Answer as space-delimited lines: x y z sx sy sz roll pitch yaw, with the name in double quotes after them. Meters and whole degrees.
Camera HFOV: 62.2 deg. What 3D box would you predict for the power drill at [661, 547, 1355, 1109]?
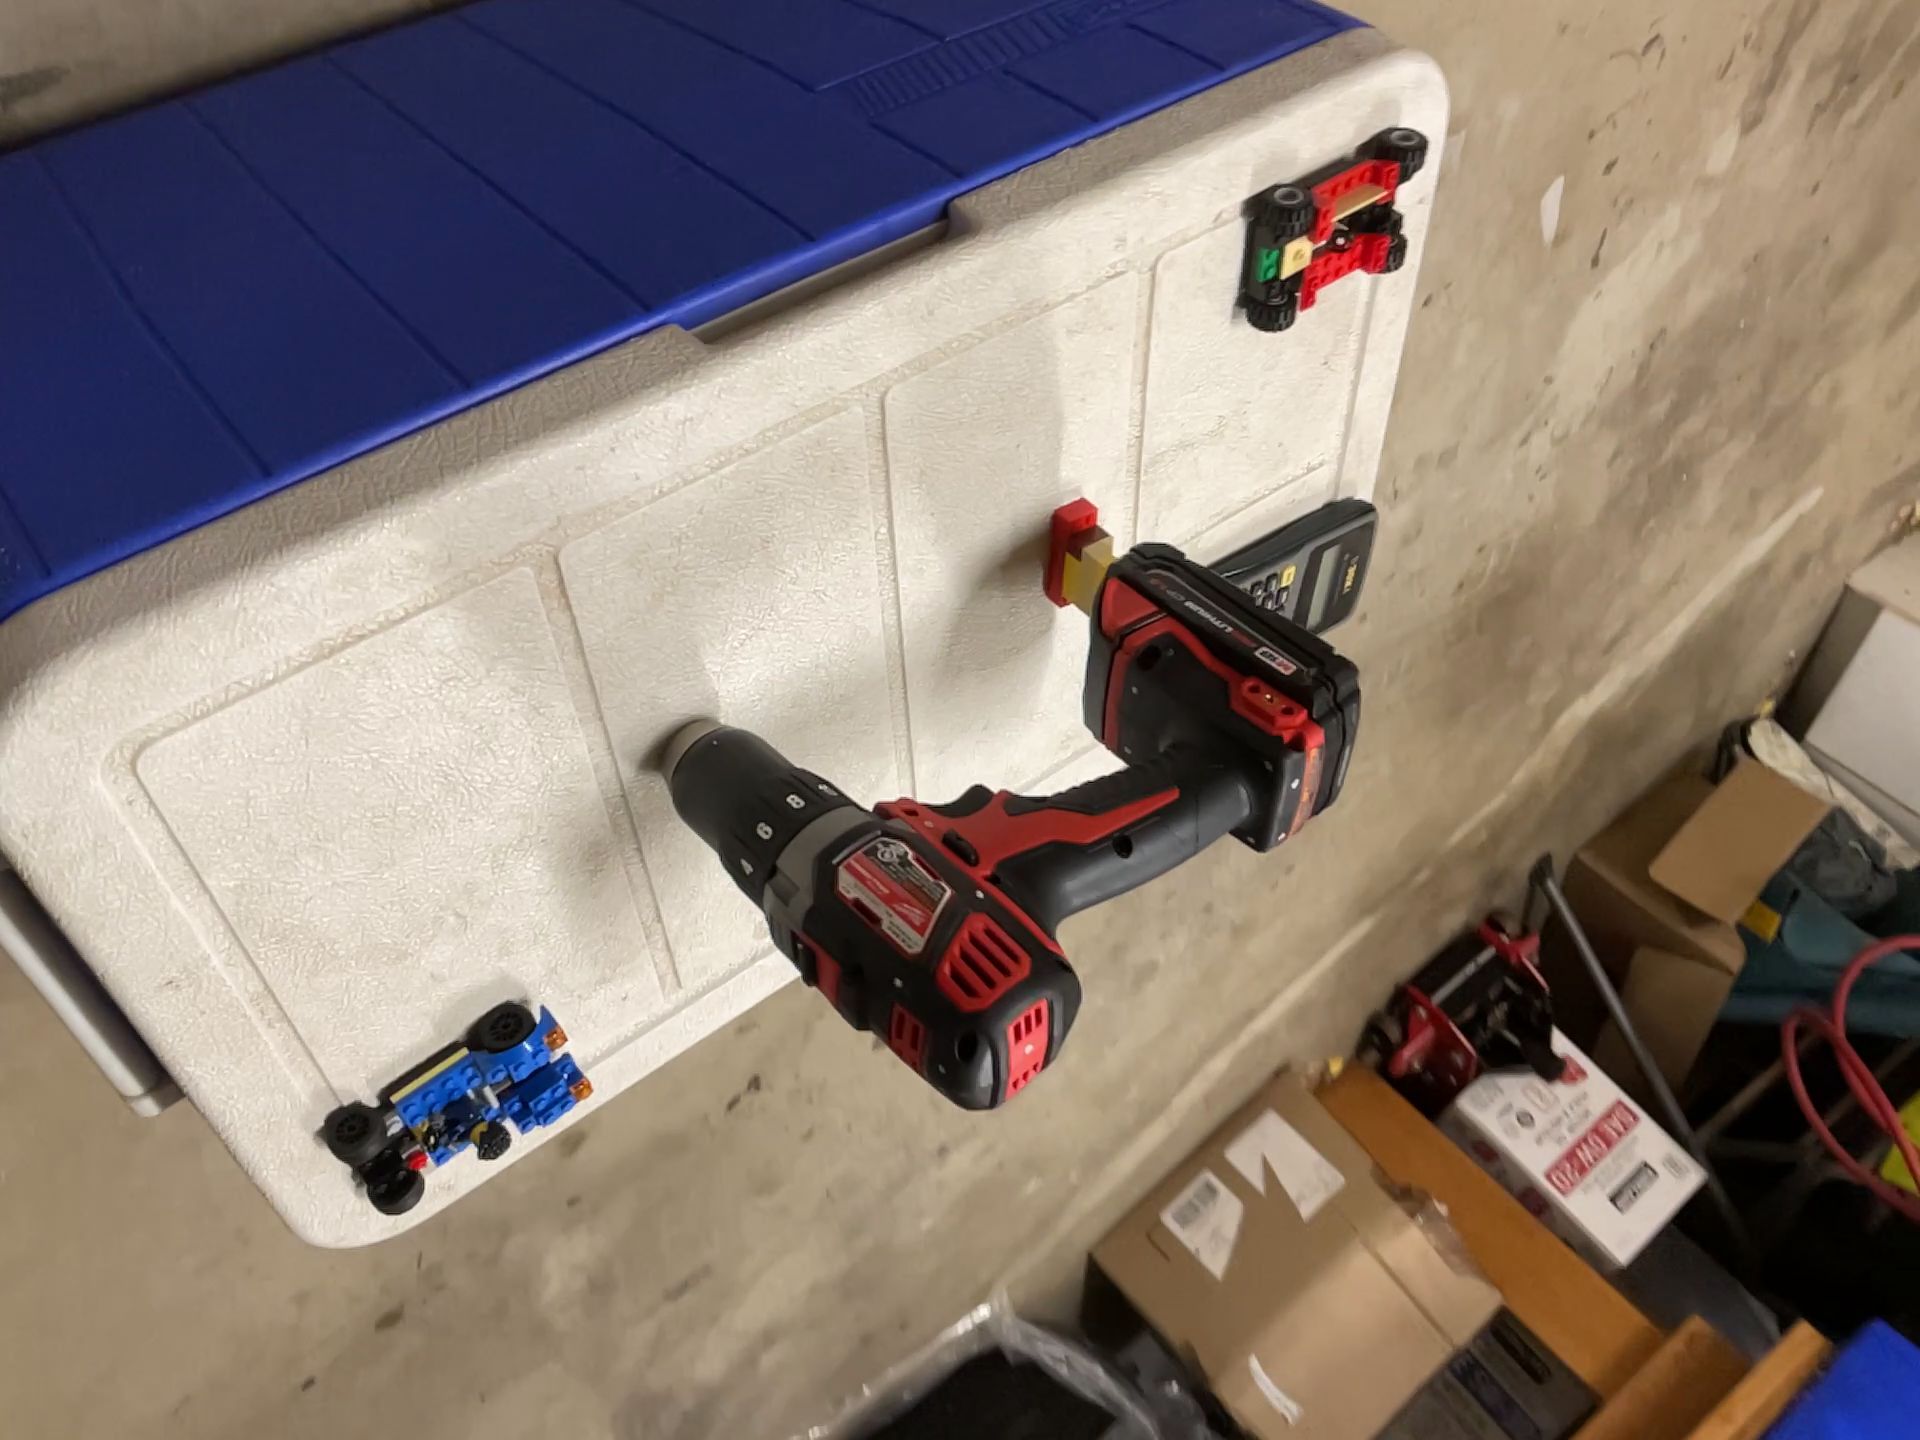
0.017 0.022 0.605 0.227 0.188 0.080 -33 145 -30 "power drill"
